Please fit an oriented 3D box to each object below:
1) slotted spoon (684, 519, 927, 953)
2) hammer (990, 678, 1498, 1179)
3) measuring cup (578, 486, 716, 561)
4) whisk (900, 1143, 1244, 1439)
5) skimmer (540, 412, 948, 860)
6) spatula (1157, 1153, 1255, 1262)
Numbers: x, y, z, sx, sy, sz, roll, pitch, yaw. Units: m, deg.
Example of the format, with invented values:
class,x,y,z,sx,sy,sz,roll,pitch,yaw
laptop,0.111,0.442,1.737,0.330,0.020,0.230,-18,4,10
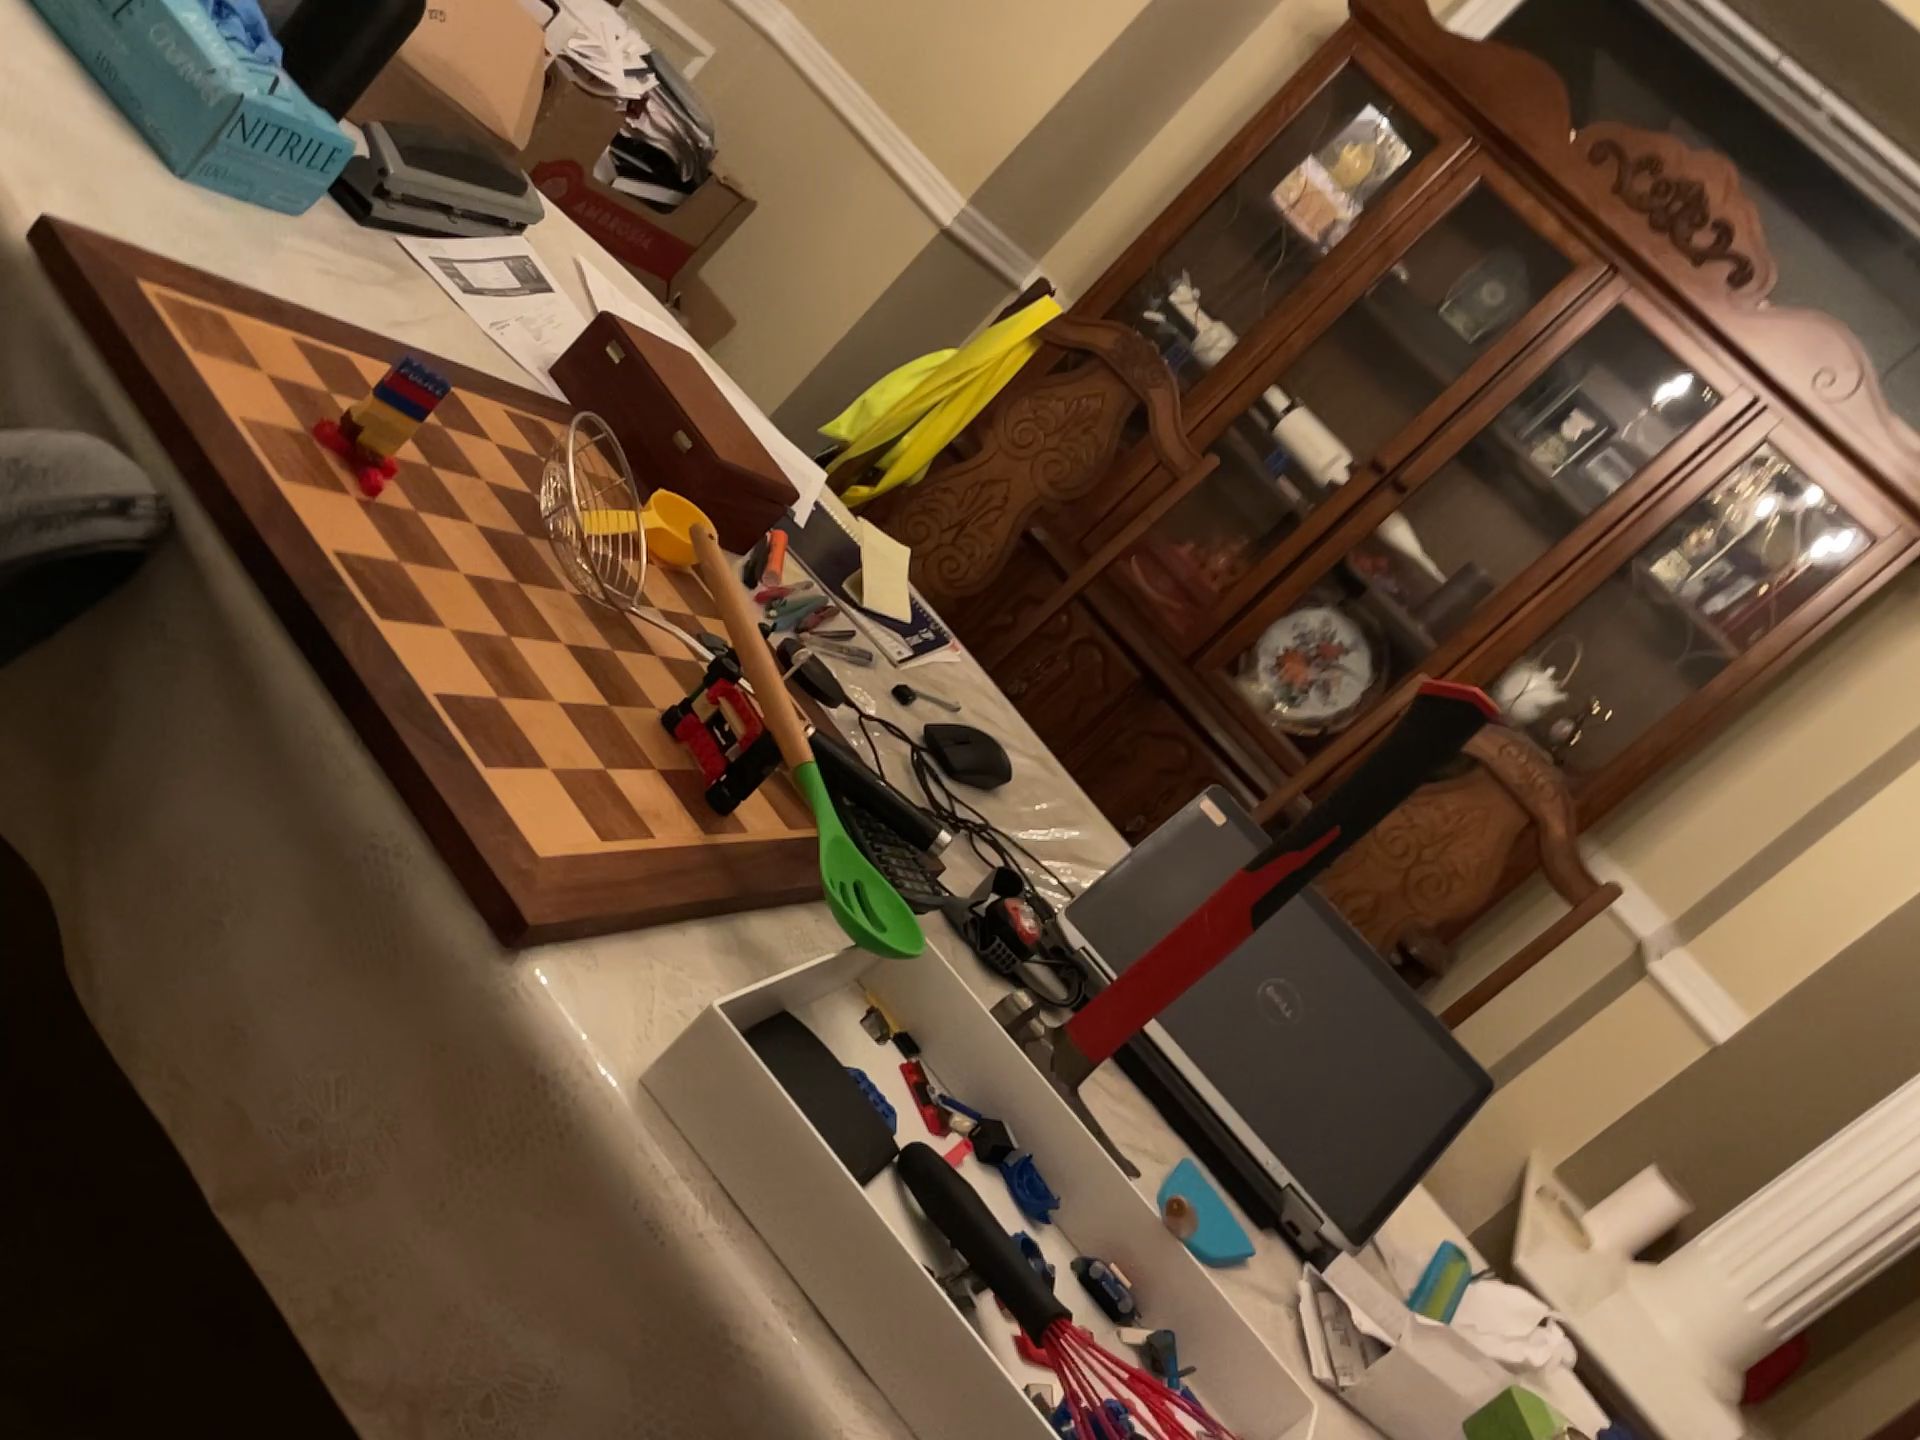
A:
class,x,y,z,sx,sy,sz,roll,pitch,yaw
slotted spoon,-0.101,0.005,0.937,0.070,0.031,0.314,16,41,-58
hammer,0.193,0.125,1.009,0.143,0.386,0.038,51,15,19
measuring cup,-0.241,-0.140,1.161,0.062,0.029,0.156,53,29,15
whisk,0.055,0.301,0.749,0.296,0.073,0.073,41,-11,43
skimmer,-0.133,-0.050,1.049,0.363,0.090,0.127,40,13,-5
spatula,0.144,0.299,0.977,0.082,0.044,0.317,53,-4,21
